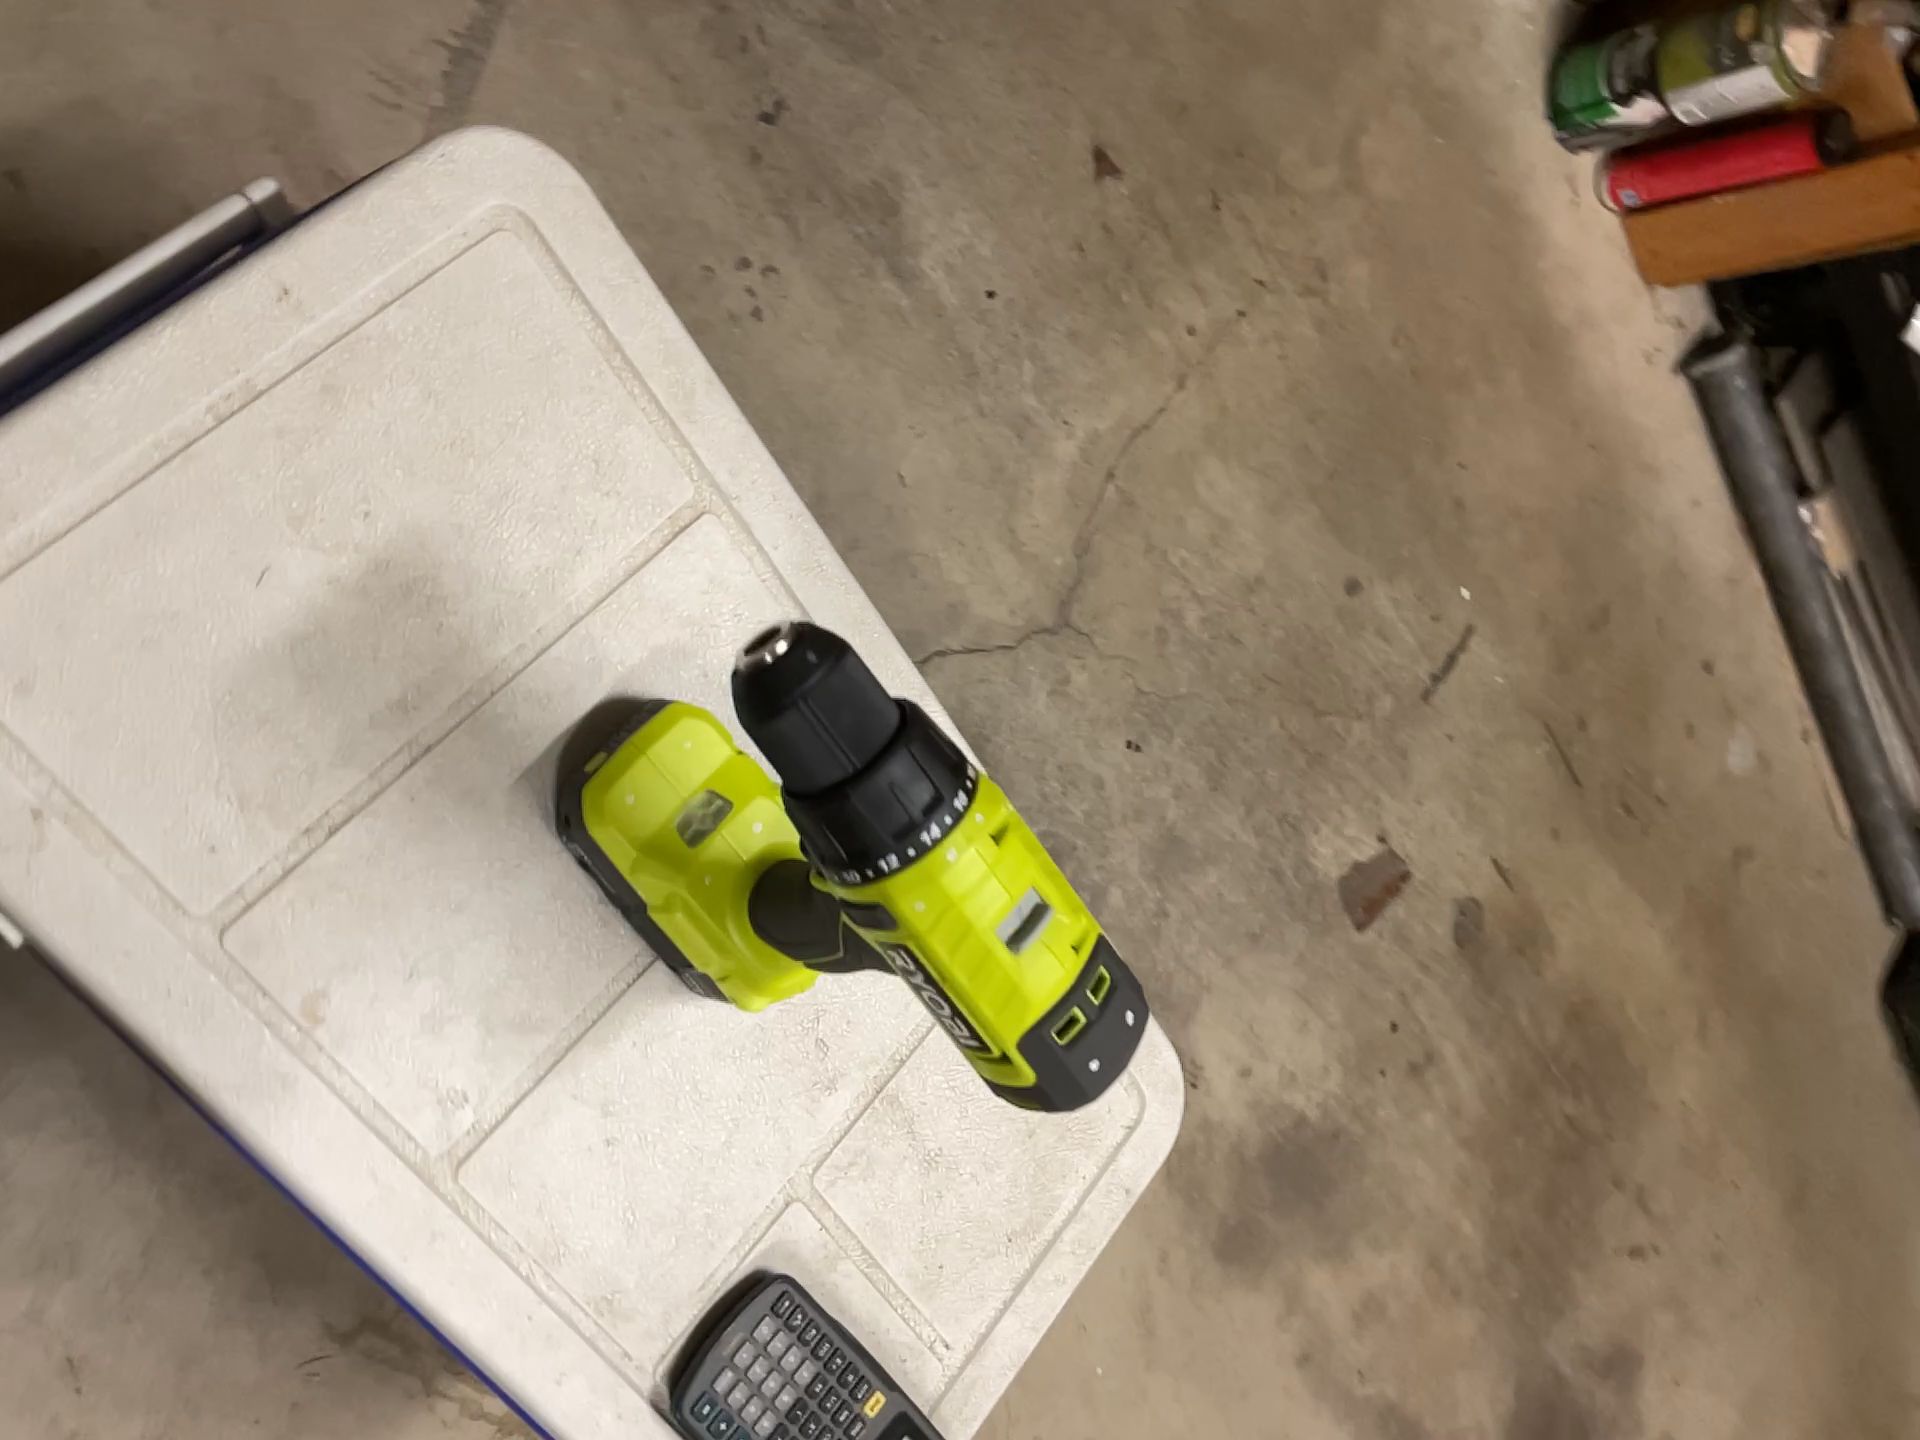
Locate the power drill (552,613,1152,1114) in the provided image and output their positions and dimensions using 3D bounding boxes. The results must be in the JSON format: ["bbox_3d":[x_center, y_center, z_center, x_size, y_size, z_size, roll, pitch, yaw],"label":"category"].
[{"bbox_3d":[-0.057,0.046,0.577,0.080,0.228,0.190,-48,116,-26],"label":"power drill"}]
